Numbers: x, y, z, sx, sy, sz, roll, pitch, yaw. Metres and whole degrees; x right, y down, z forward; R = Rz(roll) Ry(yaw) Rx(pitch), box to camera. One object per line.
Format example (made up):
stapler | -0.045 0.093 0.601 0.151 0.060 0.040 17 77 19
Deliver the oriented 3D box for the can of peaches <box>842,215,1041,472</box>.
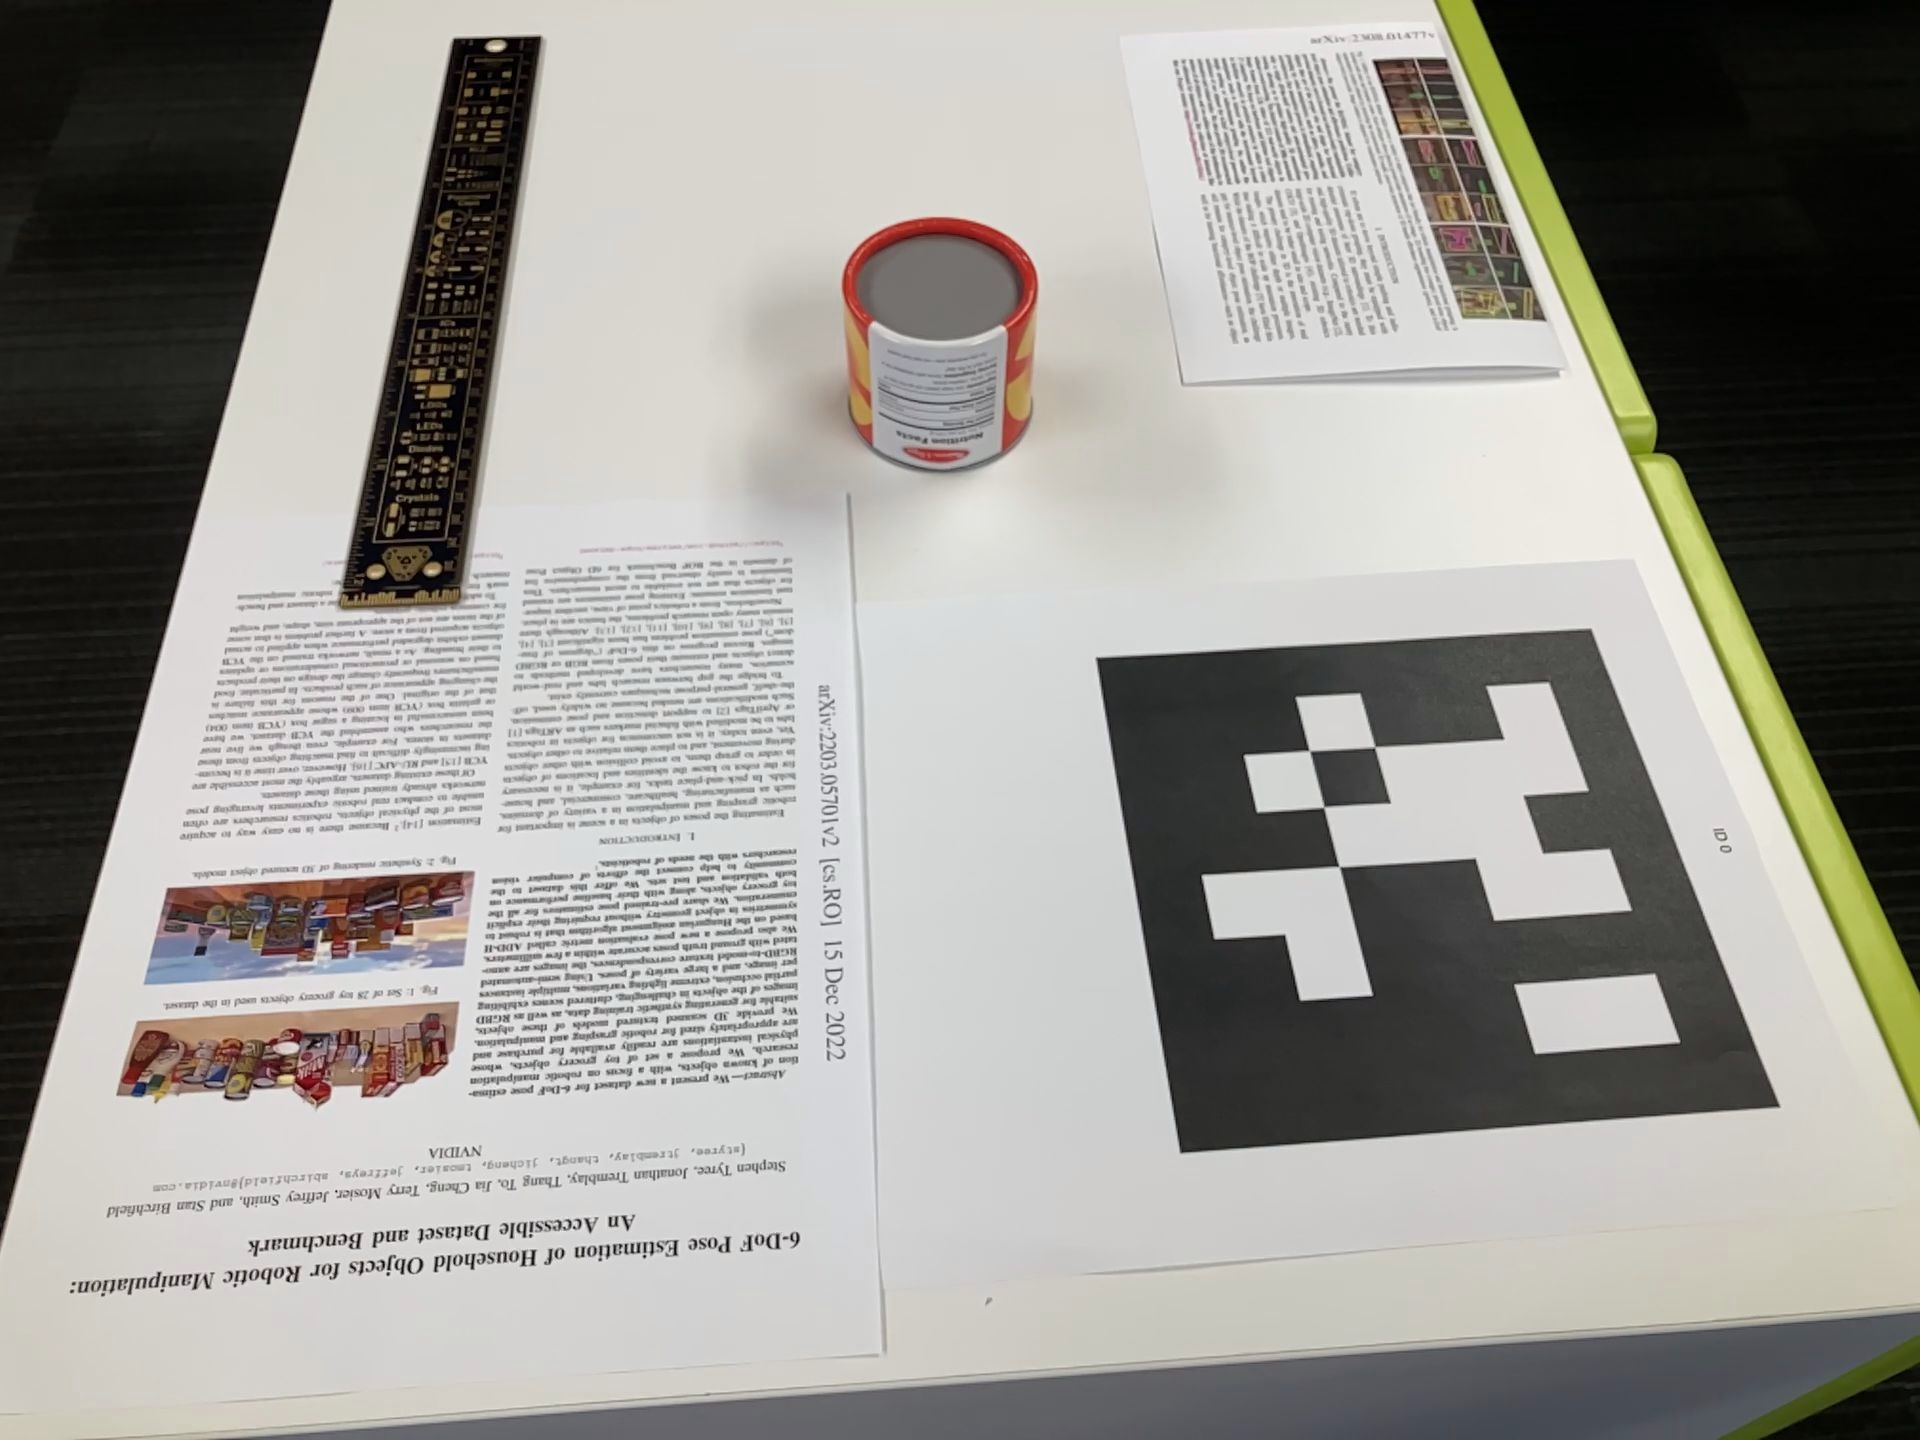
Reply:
can of peaches | -0.007 -0.131 0.542 0.071 0.058 0.071 0 56 0
